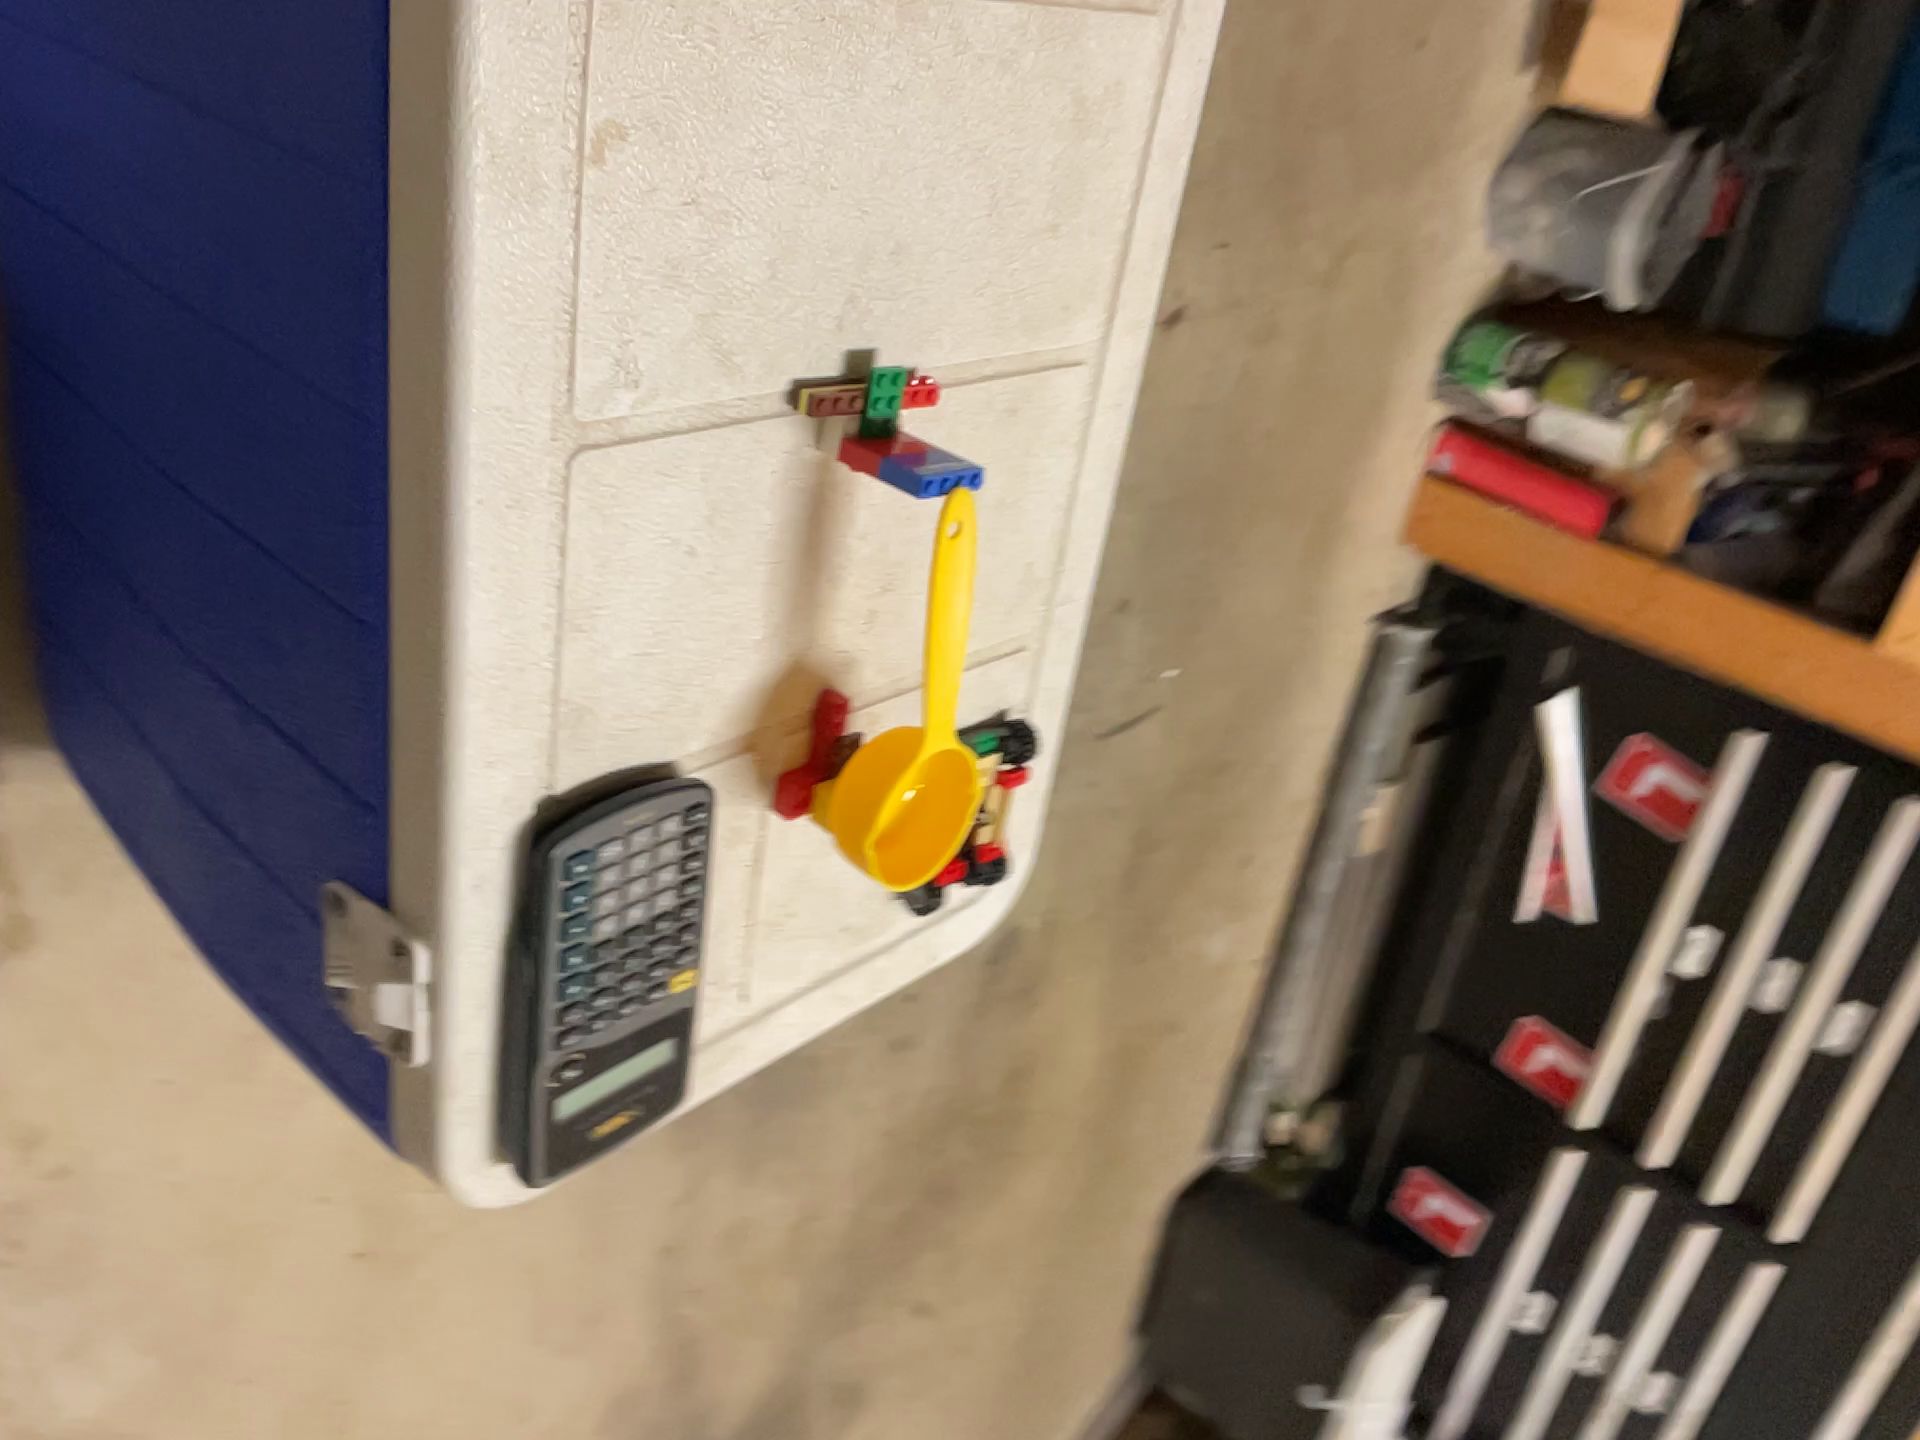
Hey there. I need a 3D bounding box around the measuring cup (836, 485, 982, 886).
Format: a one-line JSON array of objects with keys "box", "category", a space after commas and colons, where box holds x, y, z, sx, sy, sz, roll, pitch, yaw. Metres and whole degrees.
[{"box": [-0.016, -0.013, 0.578, 0.062, 0.029, 0.156, -22, 128, -46], "category": "measuring cup"}]
